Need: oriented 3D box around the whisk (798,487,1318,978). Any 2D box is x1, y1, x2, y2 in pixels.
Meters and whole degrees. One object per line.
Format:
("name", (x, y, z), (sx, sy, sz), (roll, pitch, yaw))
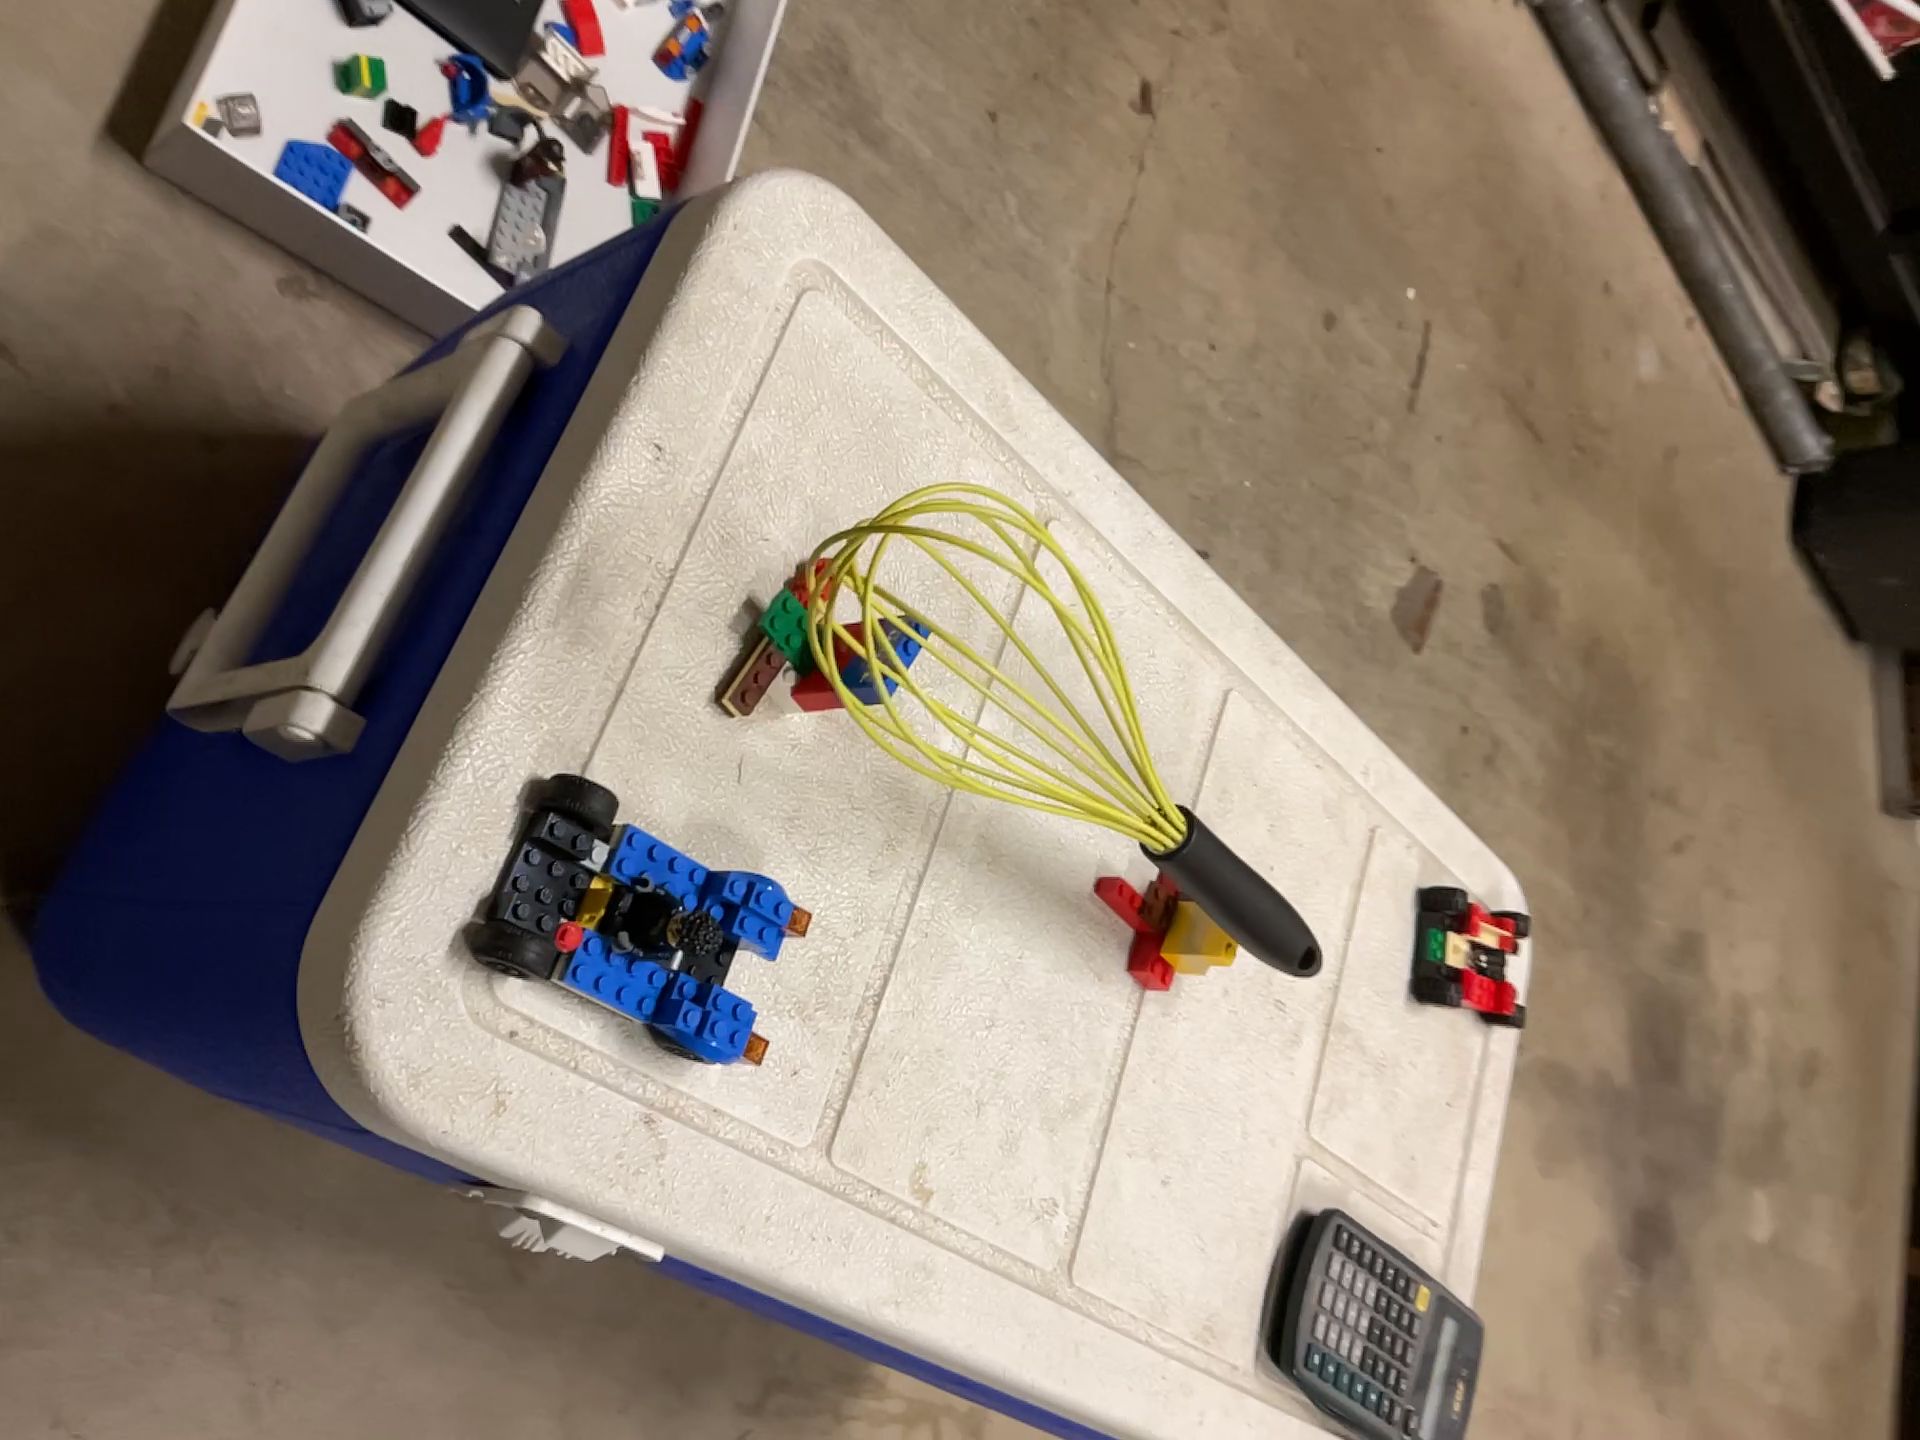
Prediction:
("whisk", (0.052, 0.023, 0.523), (0.080, 0.067, 0.311), (-39, 135, 10))
